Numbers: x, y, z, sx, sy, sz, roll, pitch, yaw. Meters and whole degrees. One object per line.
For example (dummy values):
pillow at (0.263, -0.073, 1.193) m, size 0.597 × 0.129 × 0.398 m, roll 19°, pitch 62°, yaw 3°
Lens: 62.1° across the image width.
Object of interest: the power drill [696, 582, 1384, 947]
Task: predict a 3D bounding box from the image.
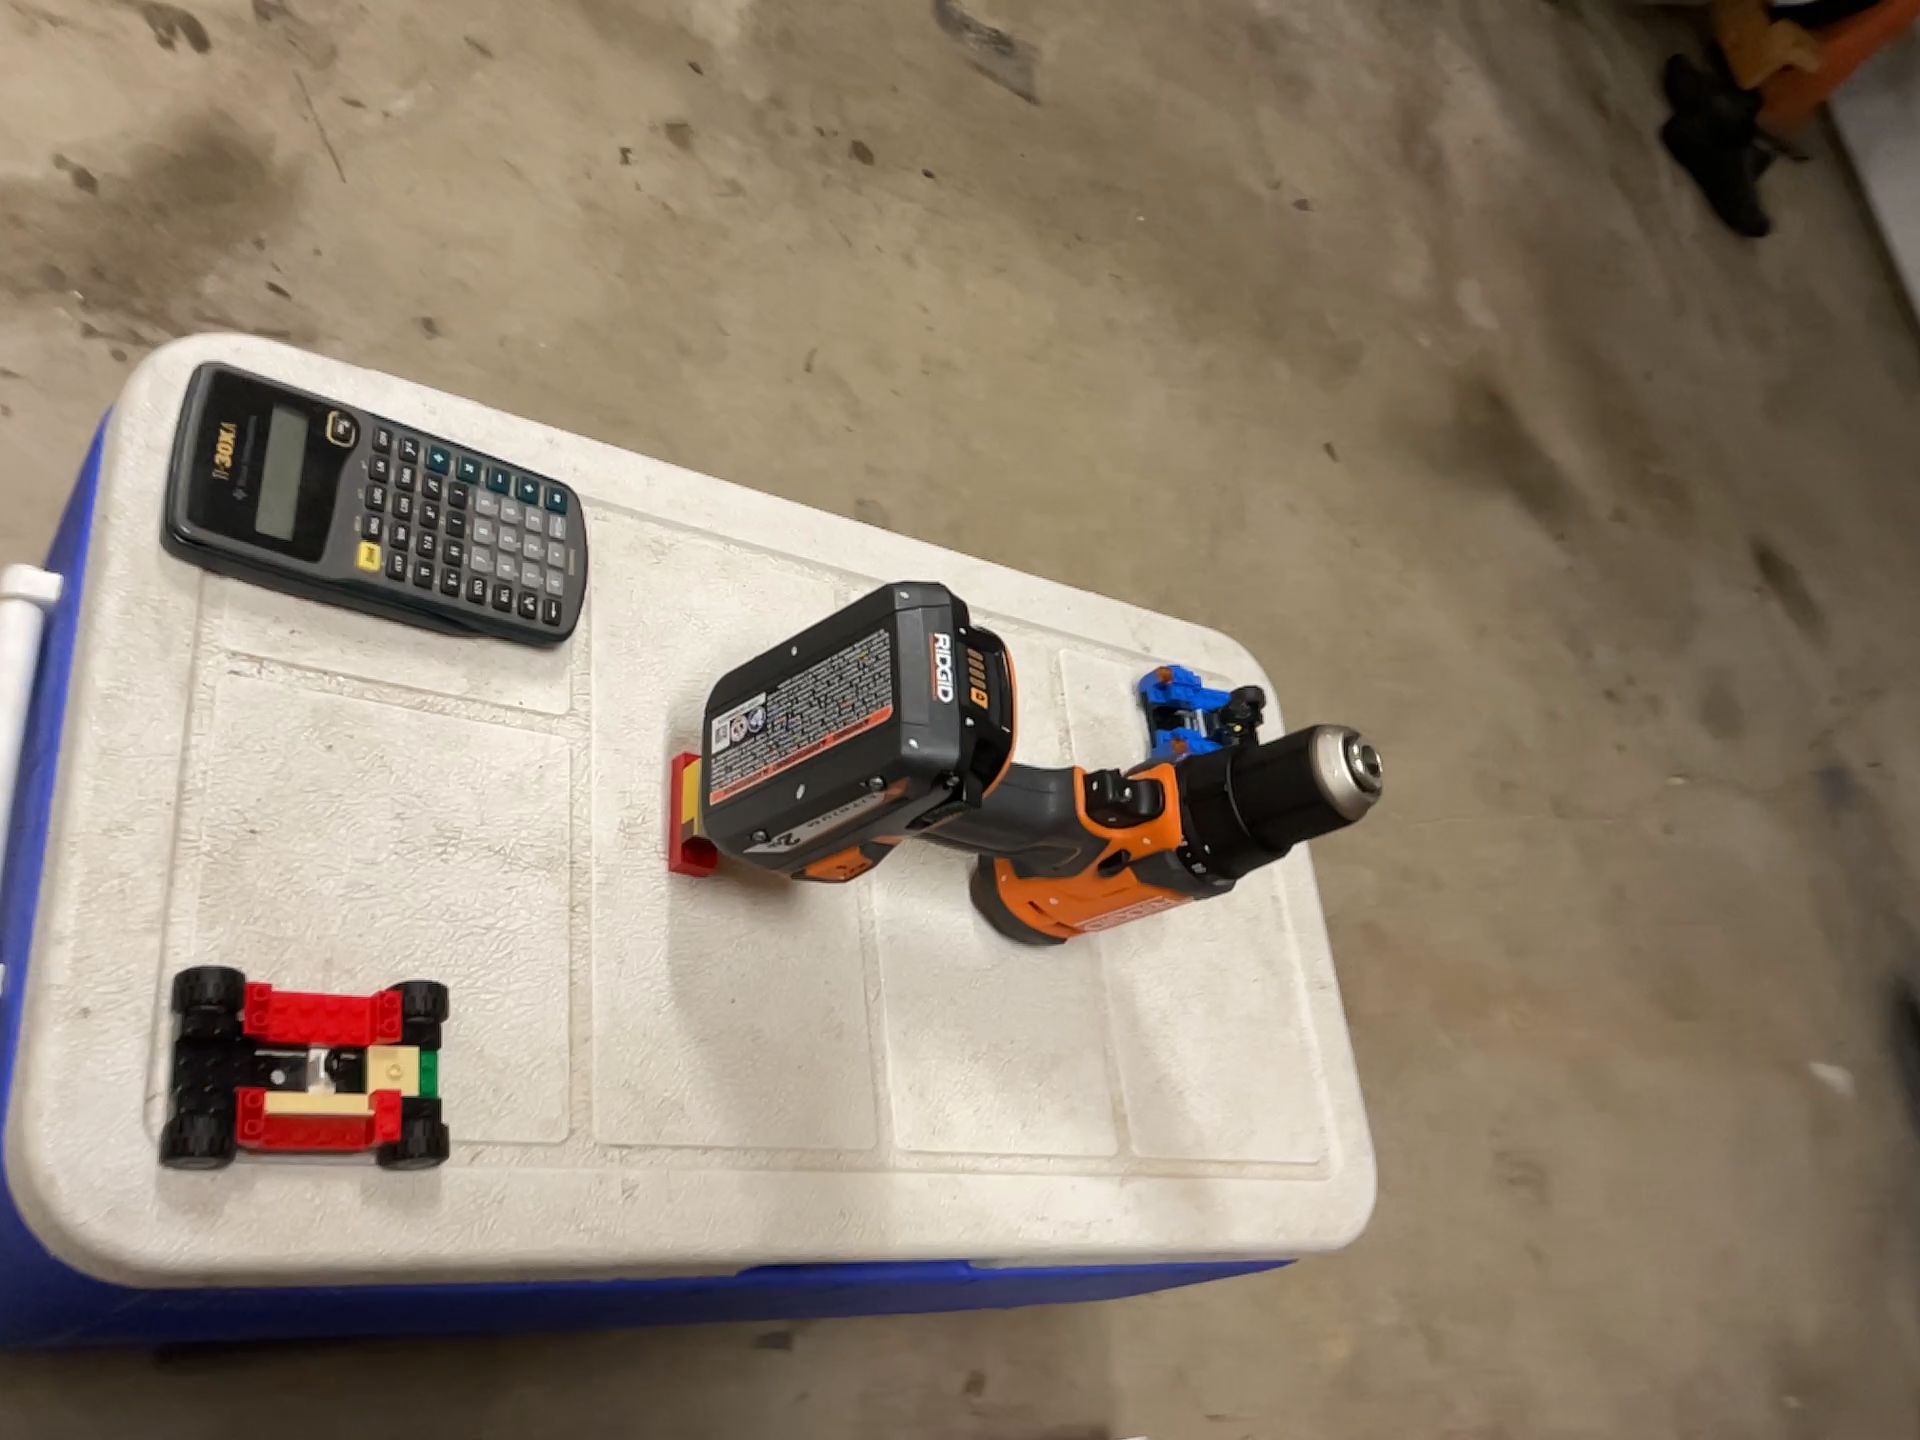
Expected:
power drill at (0.037, 0.024, 0.618) m, size 0.226 × 0.185 × 0.084 m, roll 23°, pitch 54°, yaw -42°
